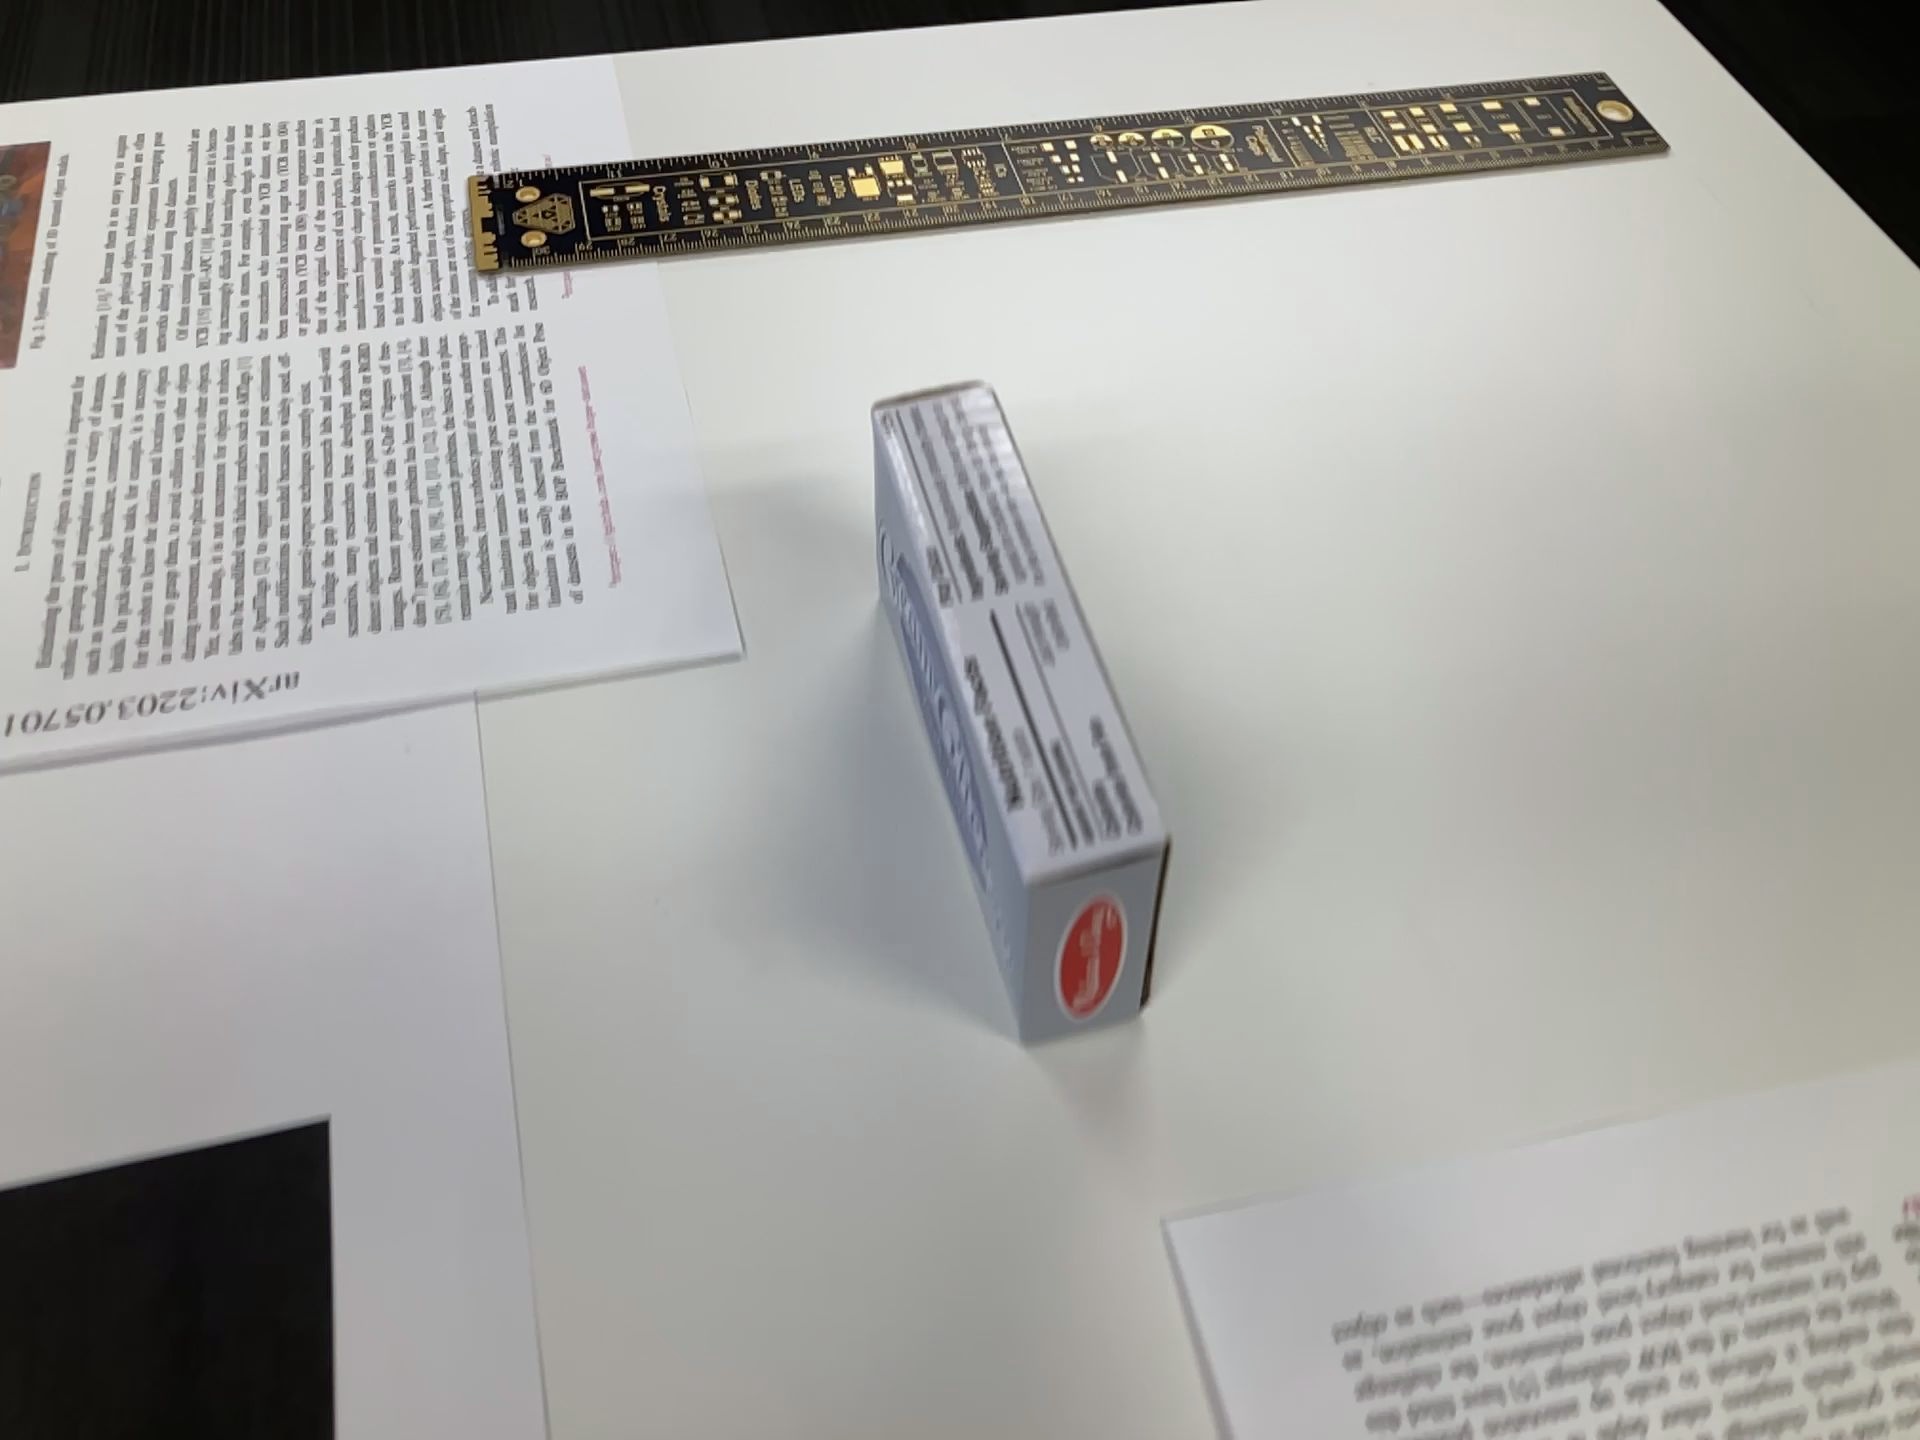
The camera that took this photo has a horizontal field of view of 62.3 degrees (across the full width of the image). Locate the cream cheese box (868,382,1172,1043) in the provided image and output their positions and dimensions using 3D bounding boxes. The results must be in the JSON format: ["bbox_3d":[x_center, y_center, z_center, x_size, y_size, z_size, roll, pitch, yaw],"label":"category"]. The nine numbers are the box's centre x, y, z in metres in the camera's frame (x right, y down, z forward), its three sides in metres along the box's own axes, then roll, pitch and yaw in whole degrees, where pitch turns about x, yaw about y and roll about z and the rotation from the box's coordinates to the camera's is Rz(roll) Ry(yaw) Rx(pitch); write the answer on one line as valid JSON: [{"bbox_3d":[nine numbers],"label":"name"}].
[{"bbox_3d":[0.007,-0.004,0.272,0.024,0.053,0.104,-12,54,-10],"label":"cream cheese box"}]
